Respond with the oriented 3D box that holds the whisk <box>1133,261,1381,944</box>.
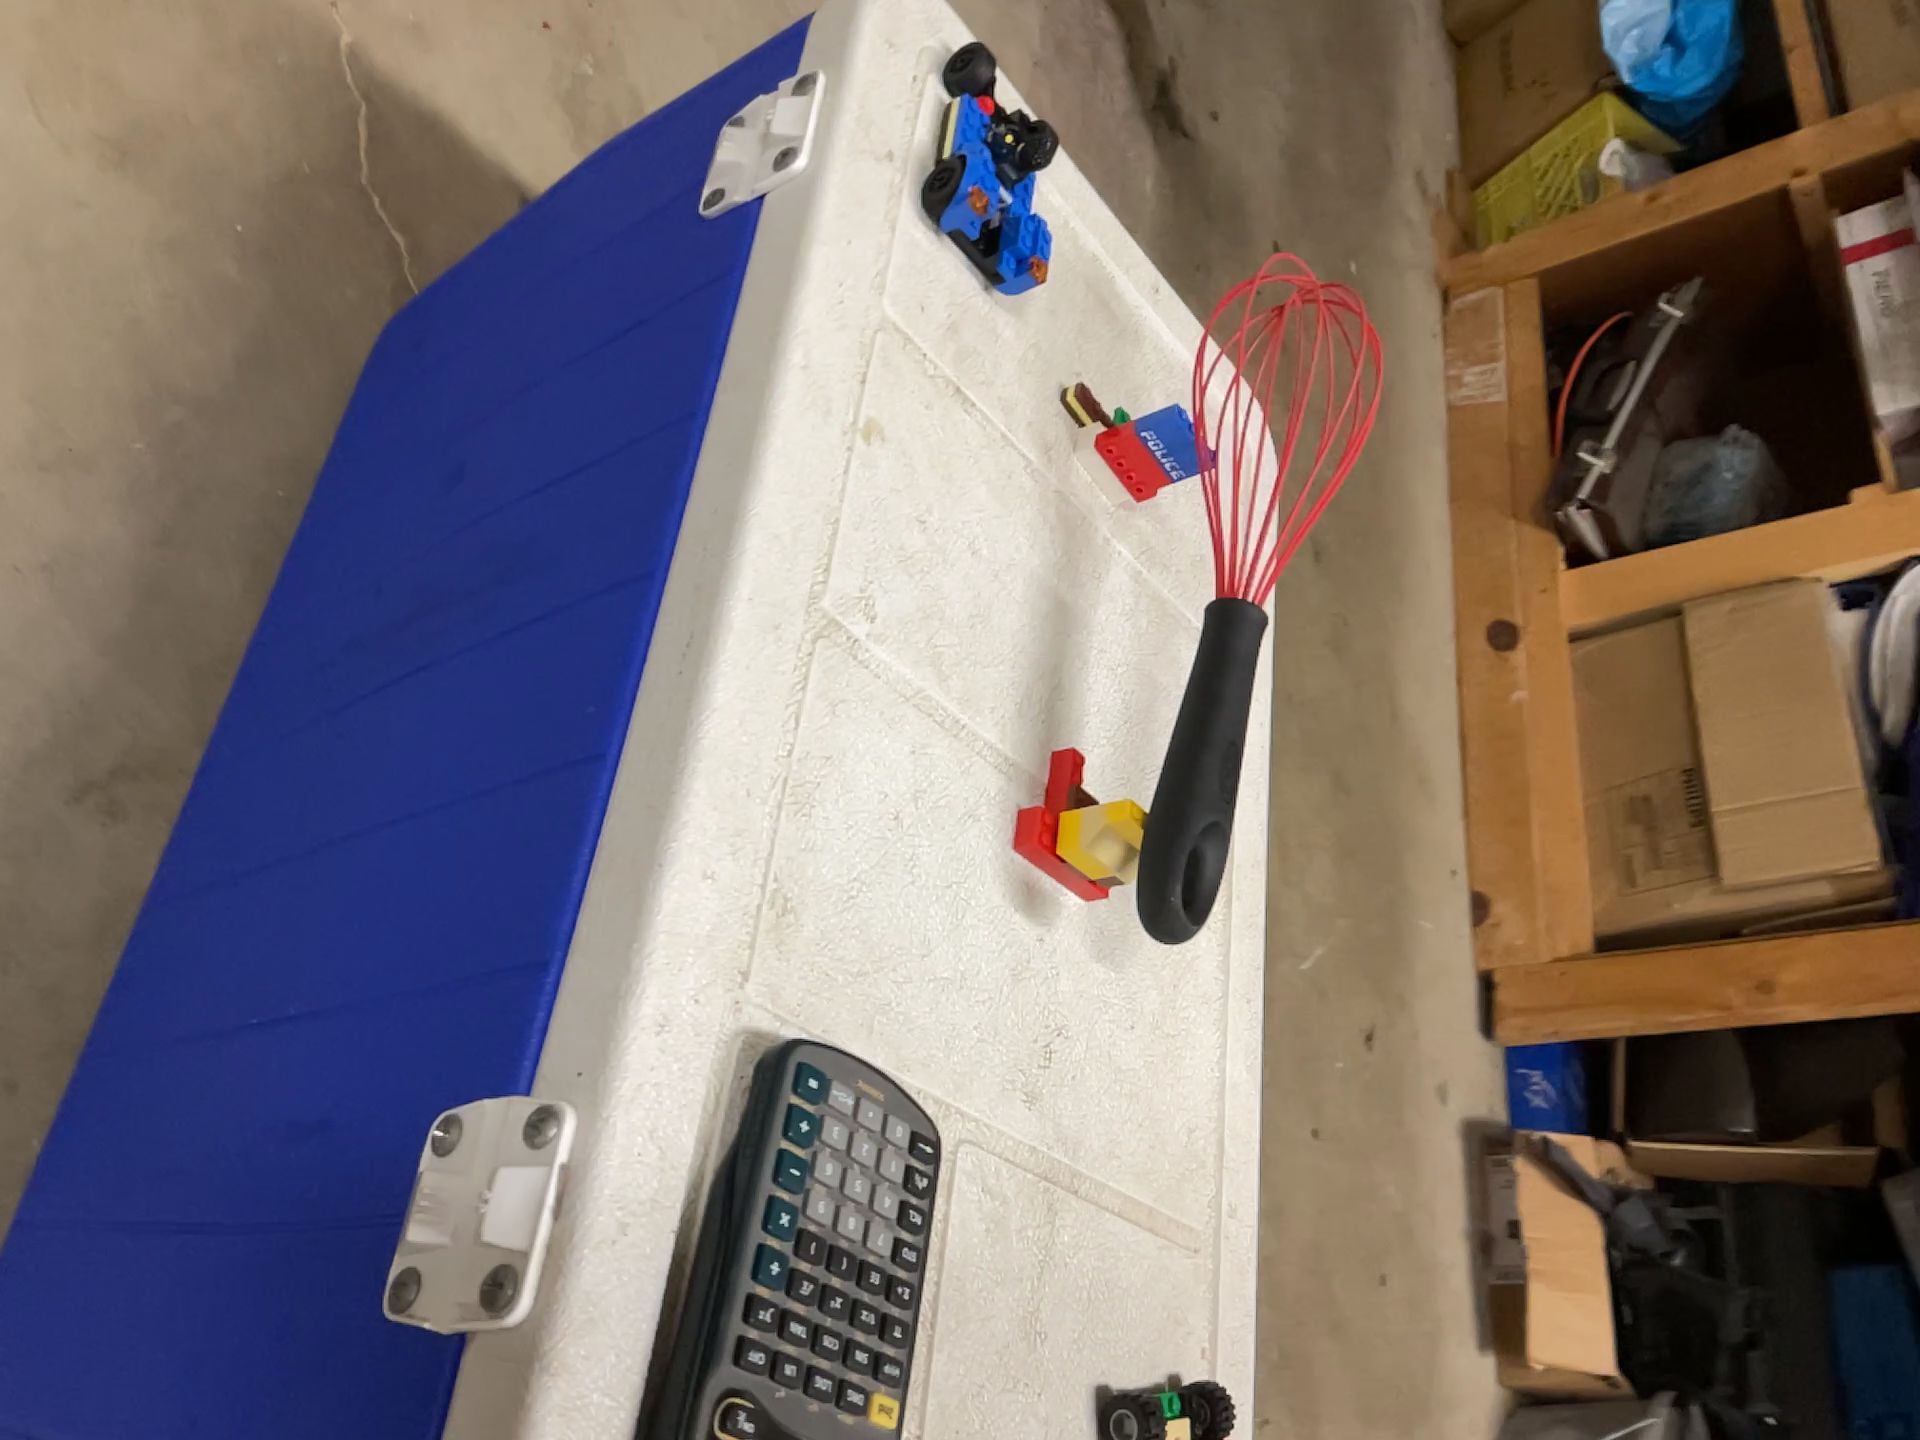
[{"bbox_3d":[0.106,-0.055,0.595,0.073,0.073,0.296,42,55,-42],"label":"whisk"}]
